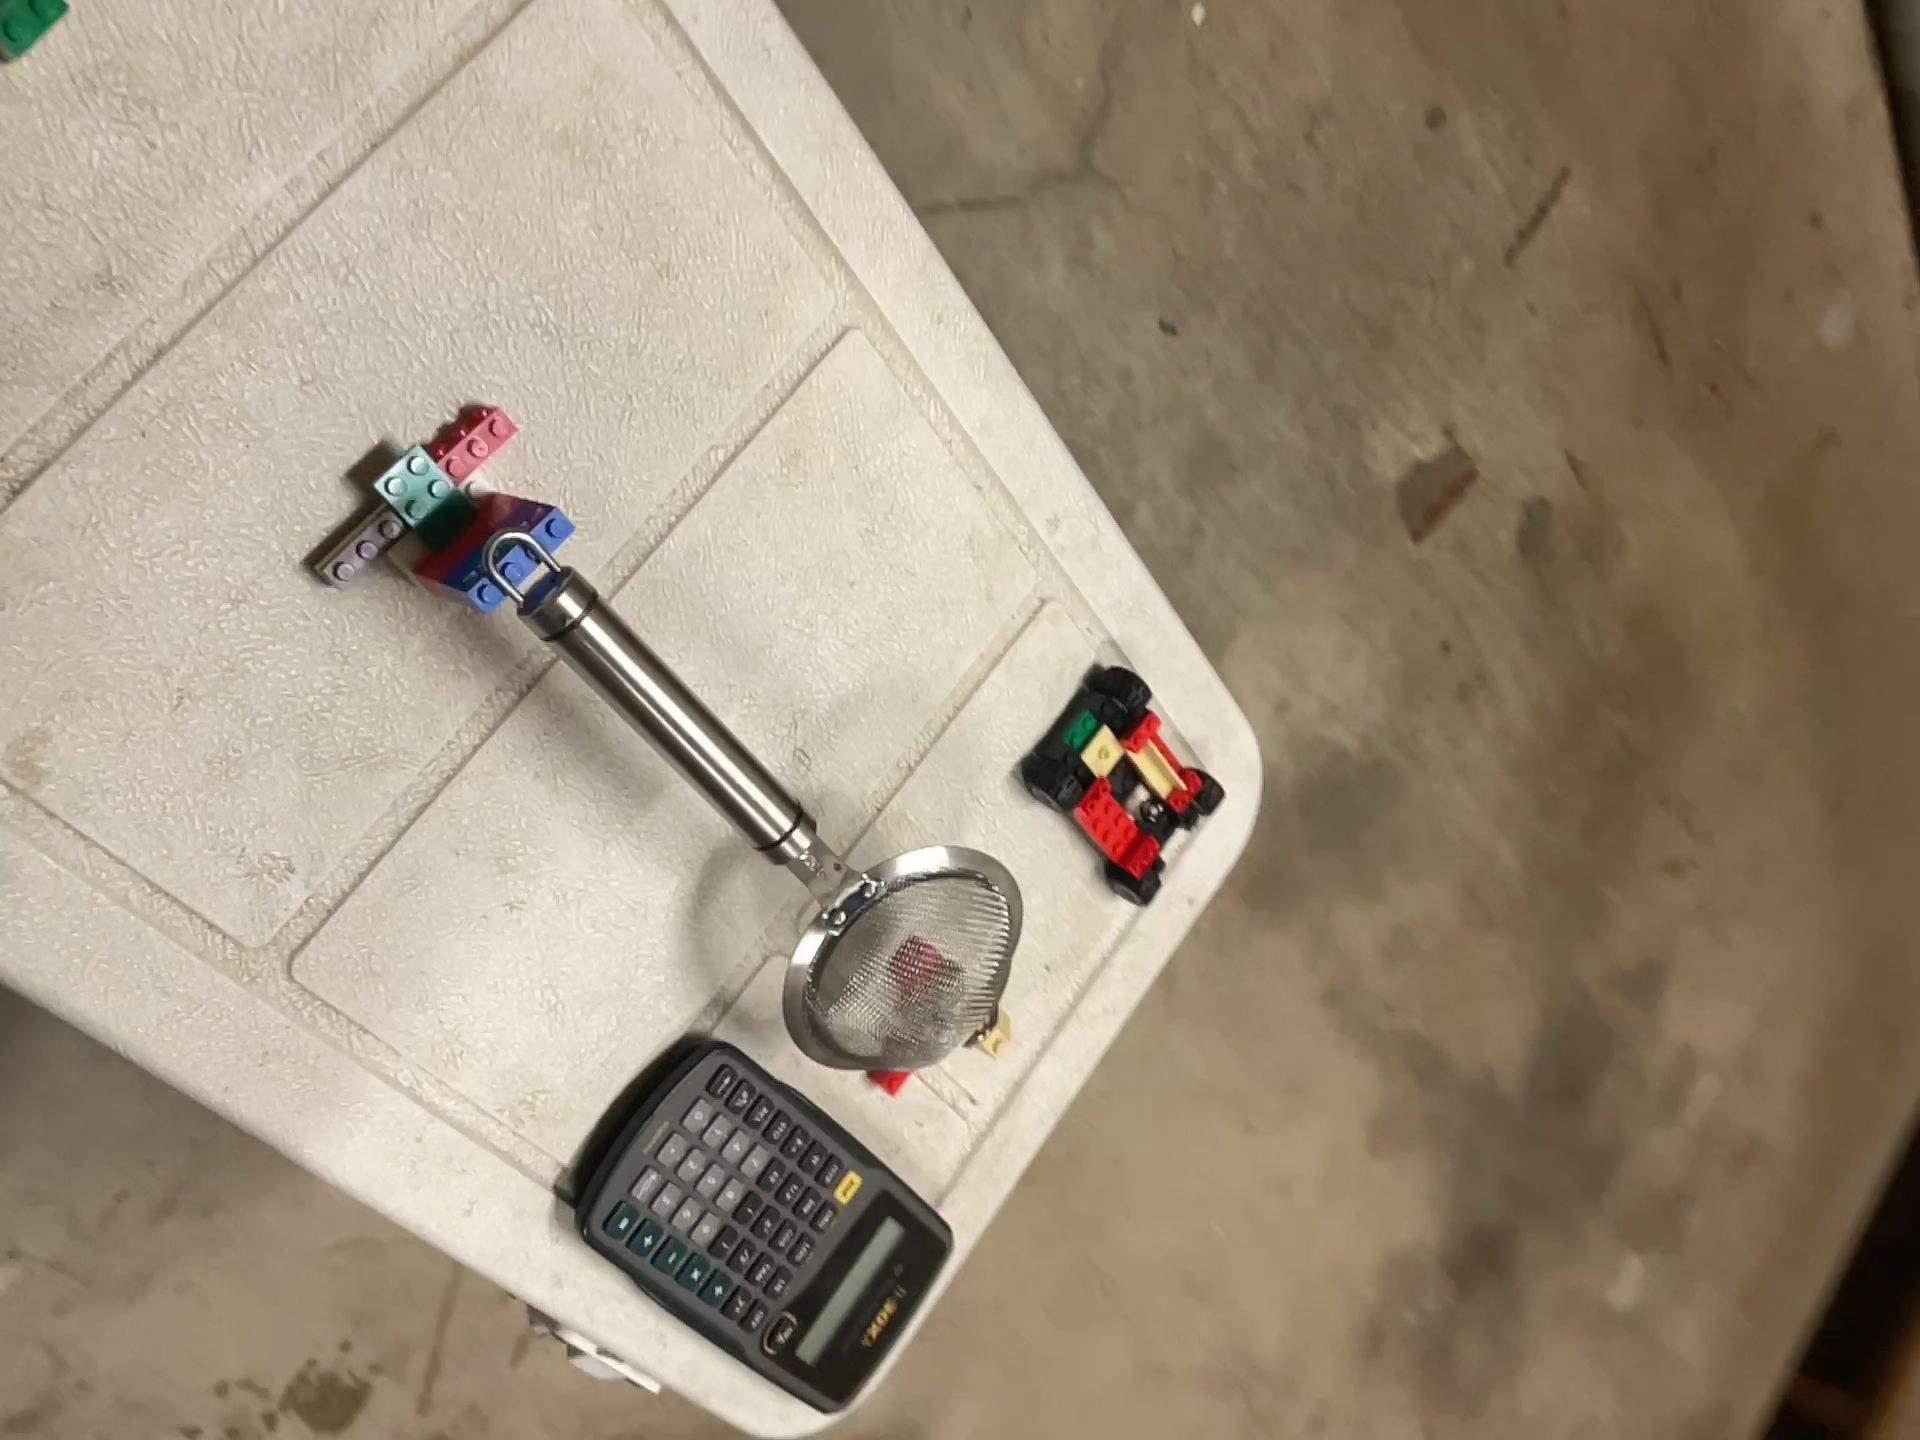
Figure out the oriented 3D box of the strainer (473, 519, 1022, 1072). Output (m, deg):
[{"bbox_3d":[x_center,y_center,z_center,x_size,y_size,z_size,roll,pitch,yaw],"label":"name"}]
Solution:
[{"bbox_3d":[-0.049,0.037,0.461,0.087,0.050,0.258,-42,124,-4],"label":"strainer"}]
